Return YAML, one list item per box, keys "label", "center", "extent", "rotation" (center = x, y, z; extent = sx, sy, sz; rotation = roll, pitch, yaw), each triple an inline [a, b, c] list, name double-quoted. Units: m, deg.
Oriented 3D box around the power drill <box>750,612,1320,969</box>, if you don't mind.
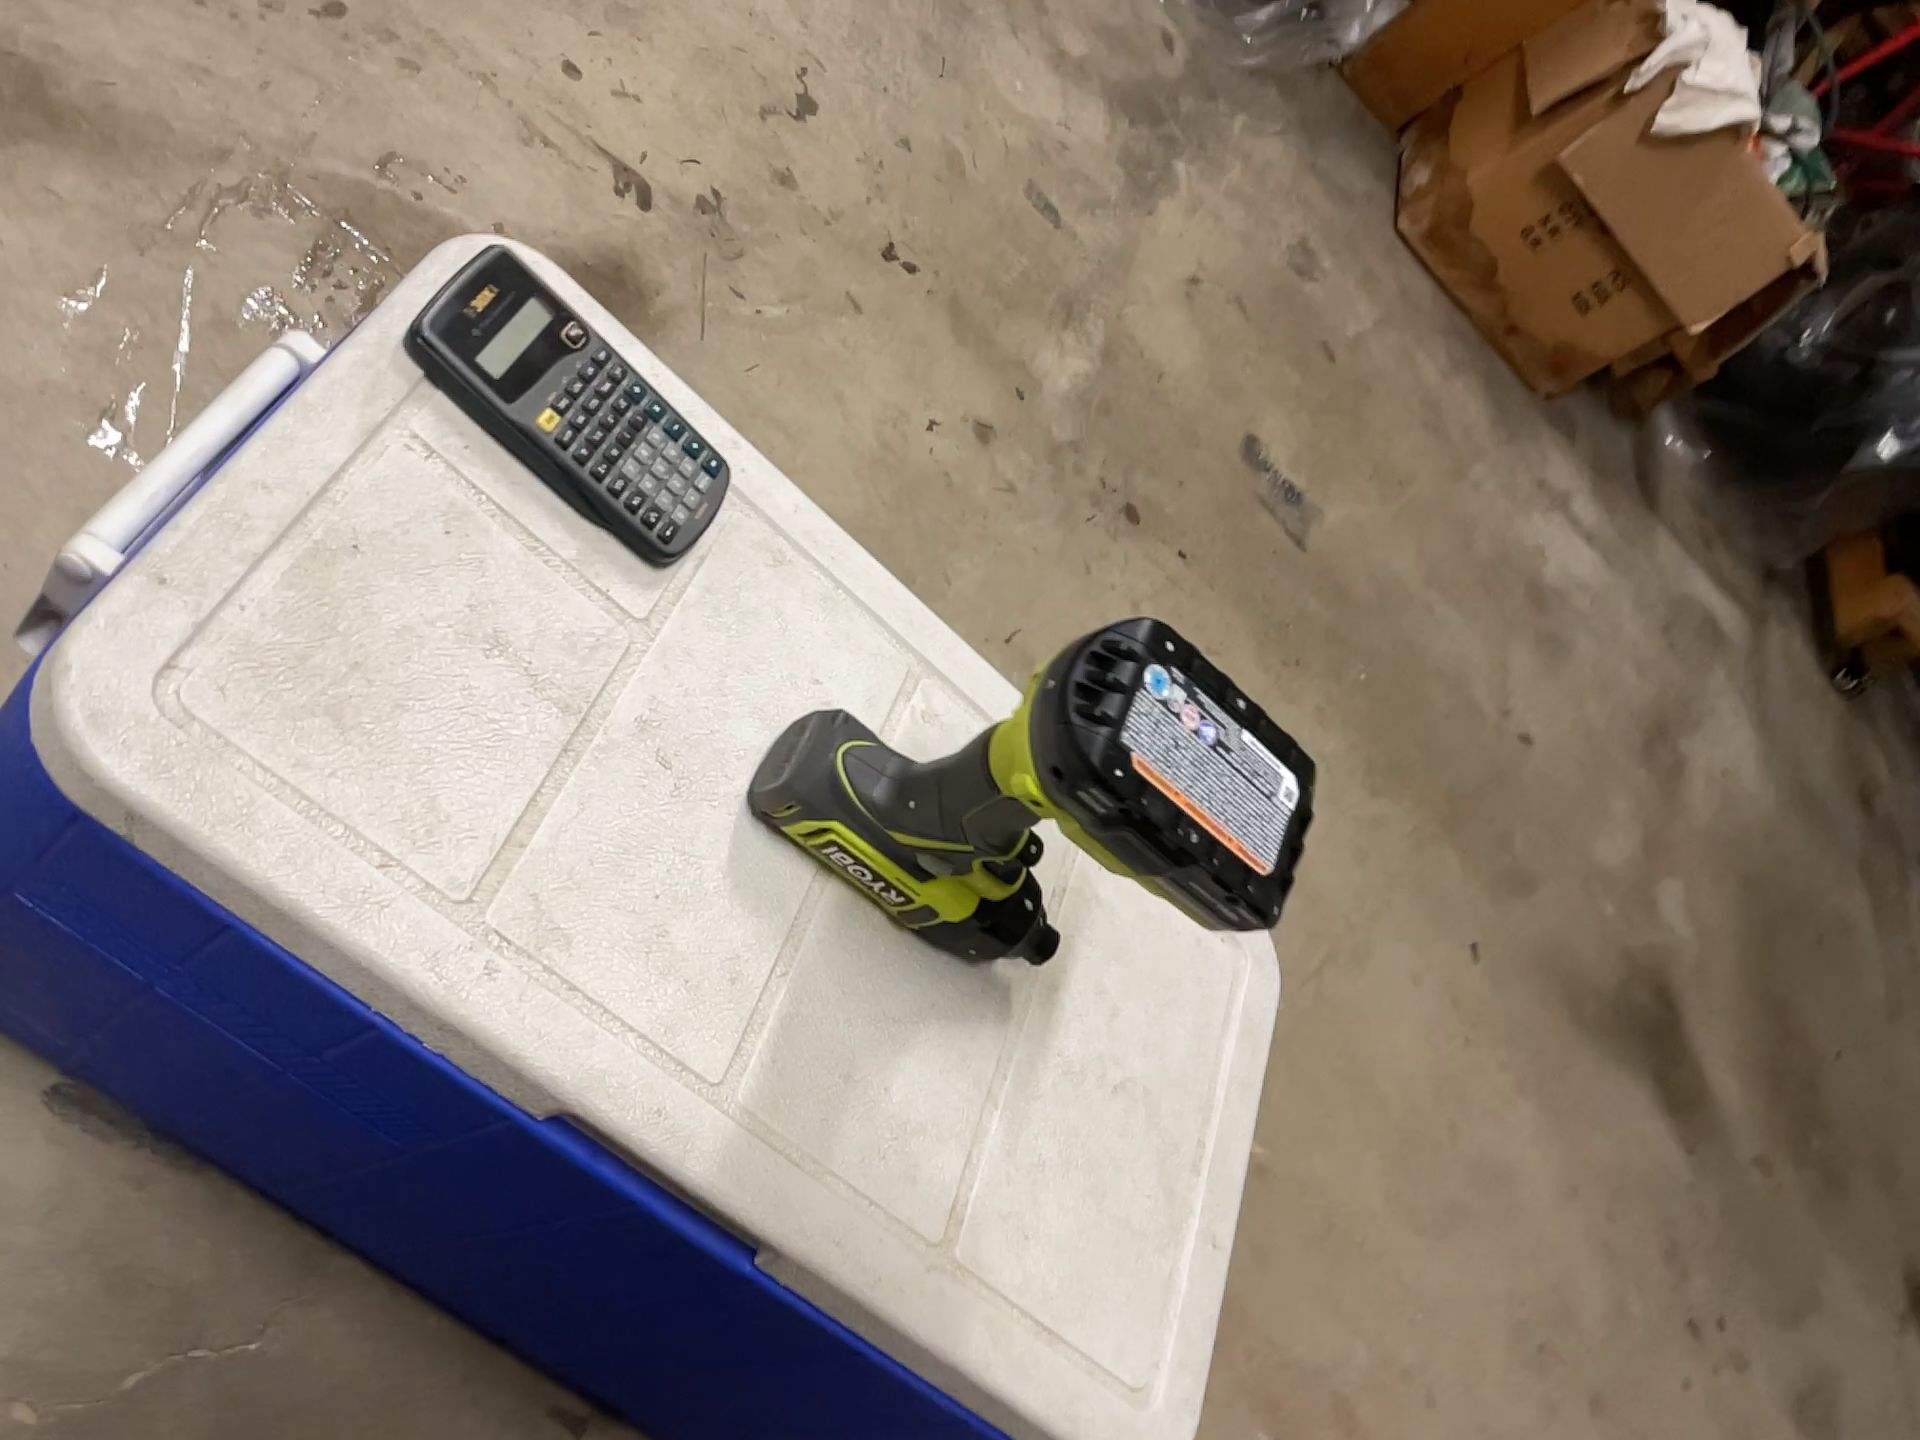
- label: "power drill"
  center: [0.033, 0.044, 0.679]
  extent: [0.171, 0.223, 0.080]
  rotation: [40, 57, -23]
